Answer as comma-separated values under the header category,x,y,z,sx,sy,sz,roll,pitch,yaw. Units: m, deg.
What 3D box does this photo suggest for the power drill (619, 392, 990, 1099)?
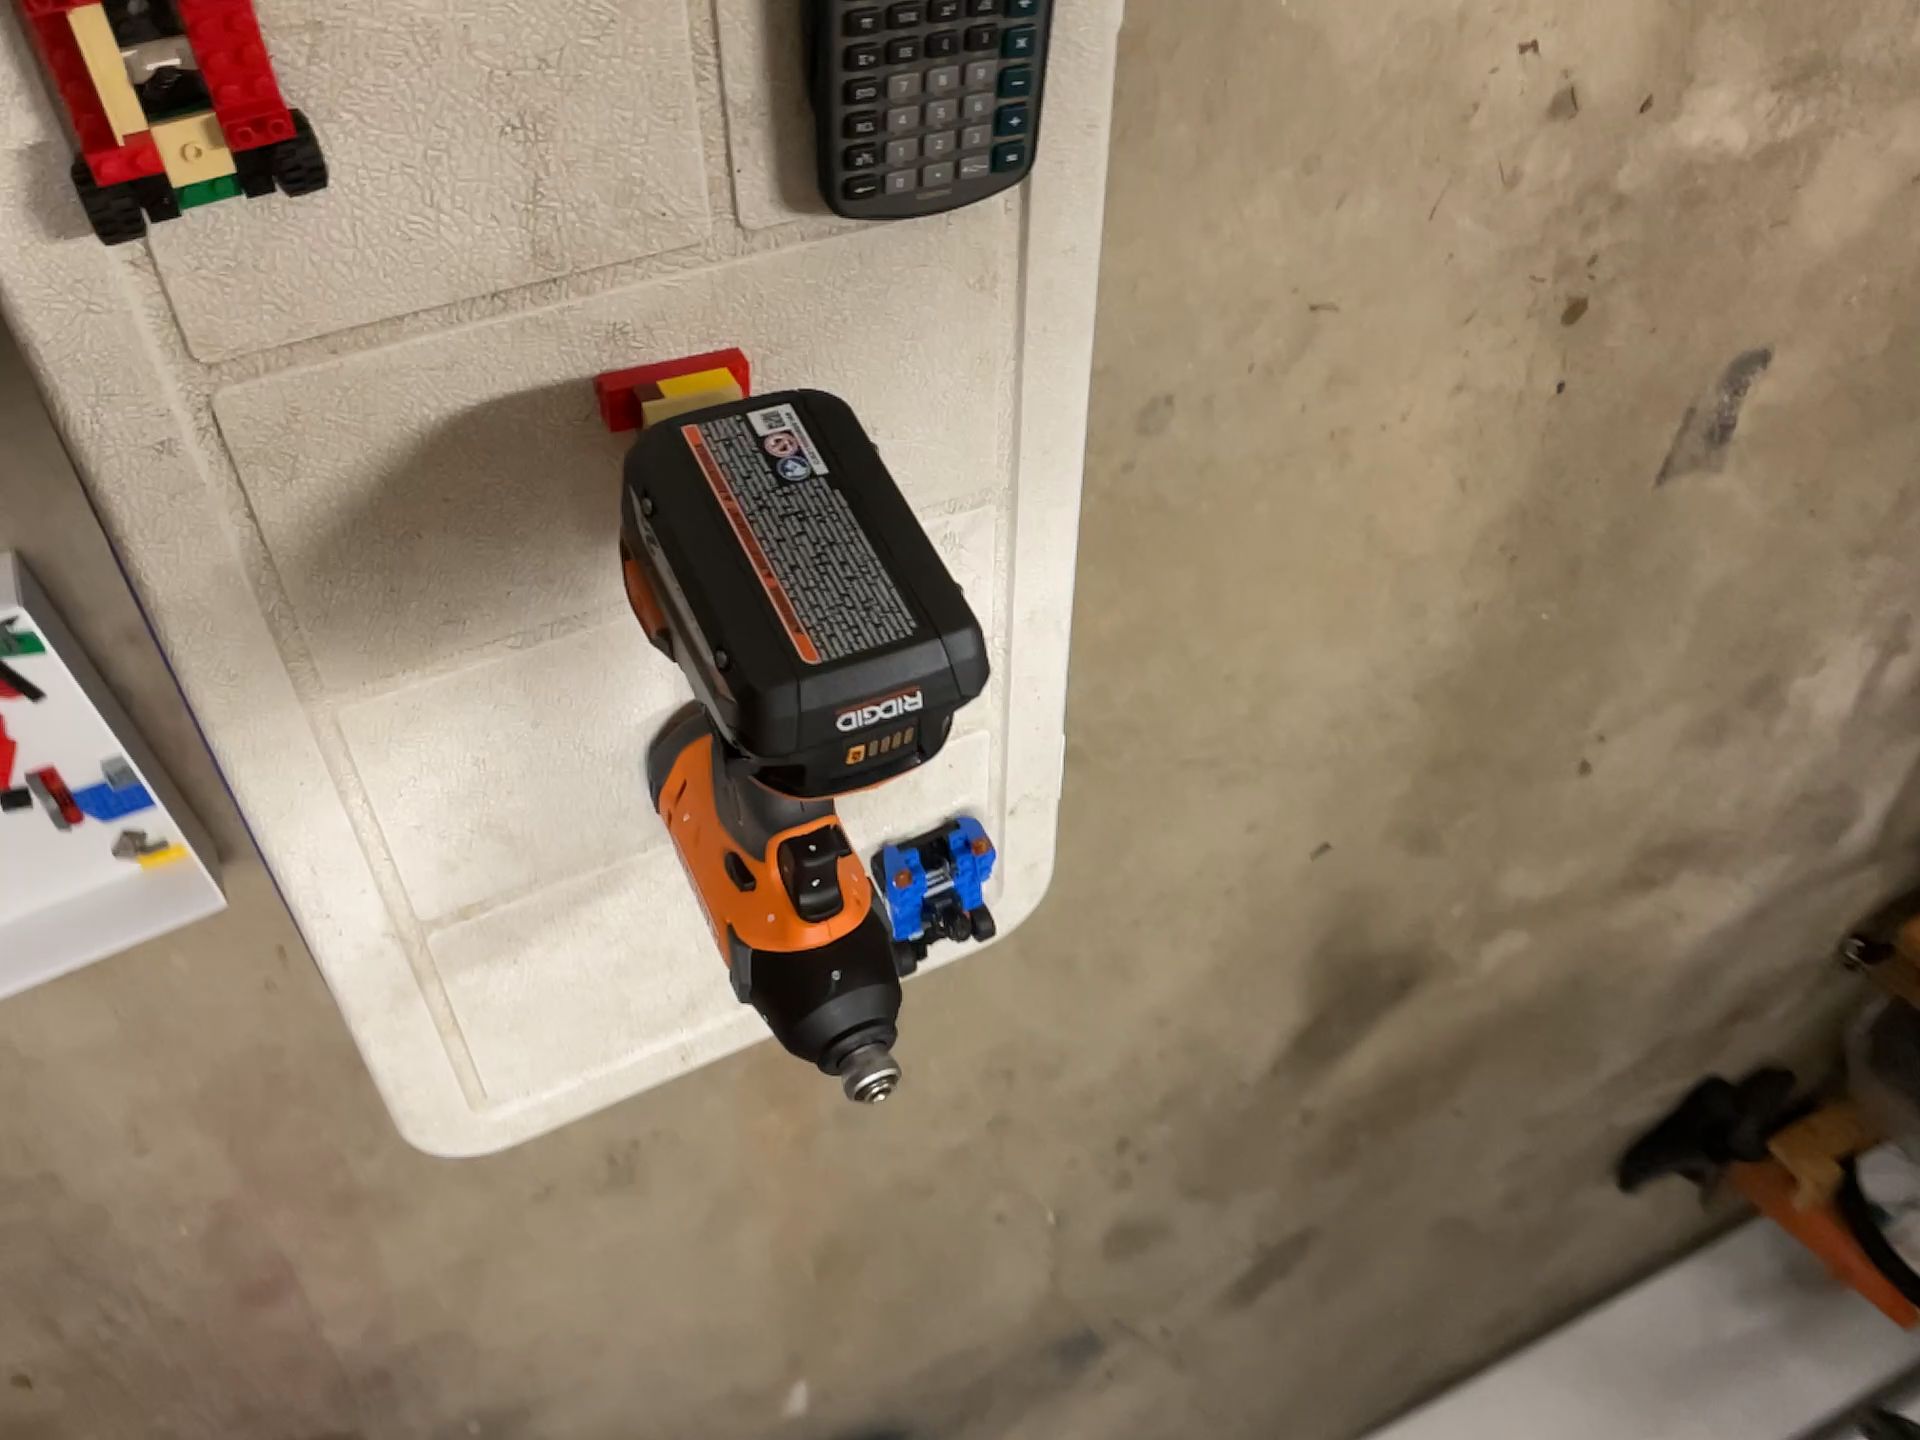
category,x,y,z,sx,sy,sz,roll,pitch,yaw
power drill,-0.054,0.022,0.542,0.084,0.164,0.226,-18,150,-21
